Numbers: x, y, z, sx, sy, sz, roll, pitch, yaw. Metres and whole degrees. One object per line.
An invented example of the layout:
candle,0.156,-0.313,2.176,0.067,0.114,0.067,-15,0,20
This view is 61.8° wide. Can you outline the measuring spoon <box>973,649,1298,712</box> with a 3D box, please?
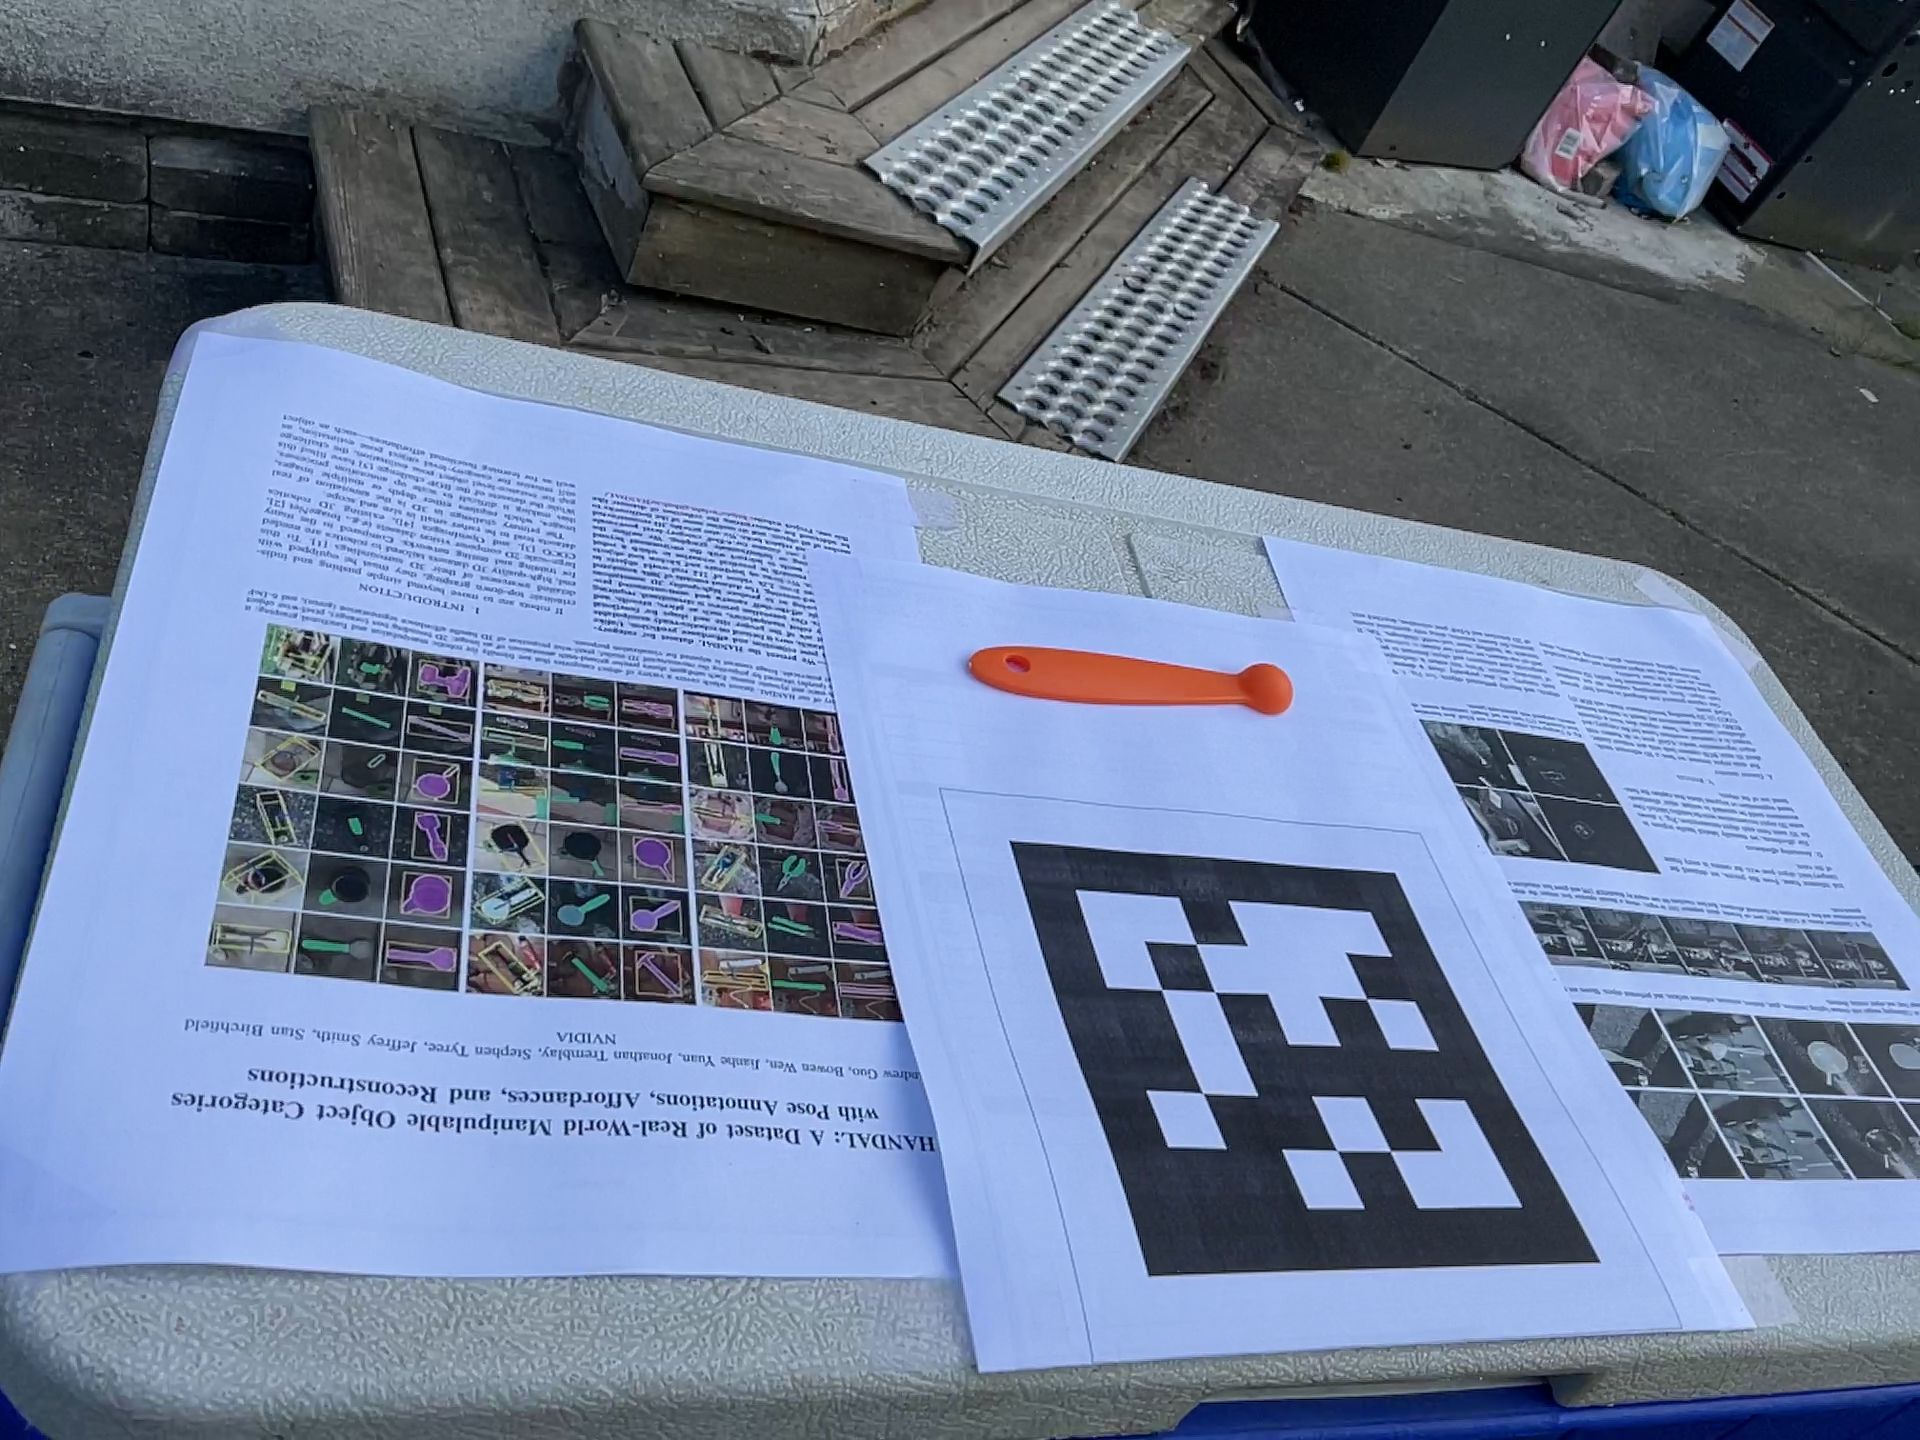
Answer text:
measuring spoon,0.058,-0.015,0.507,0.117,0.011,0.021,3,41,-24
